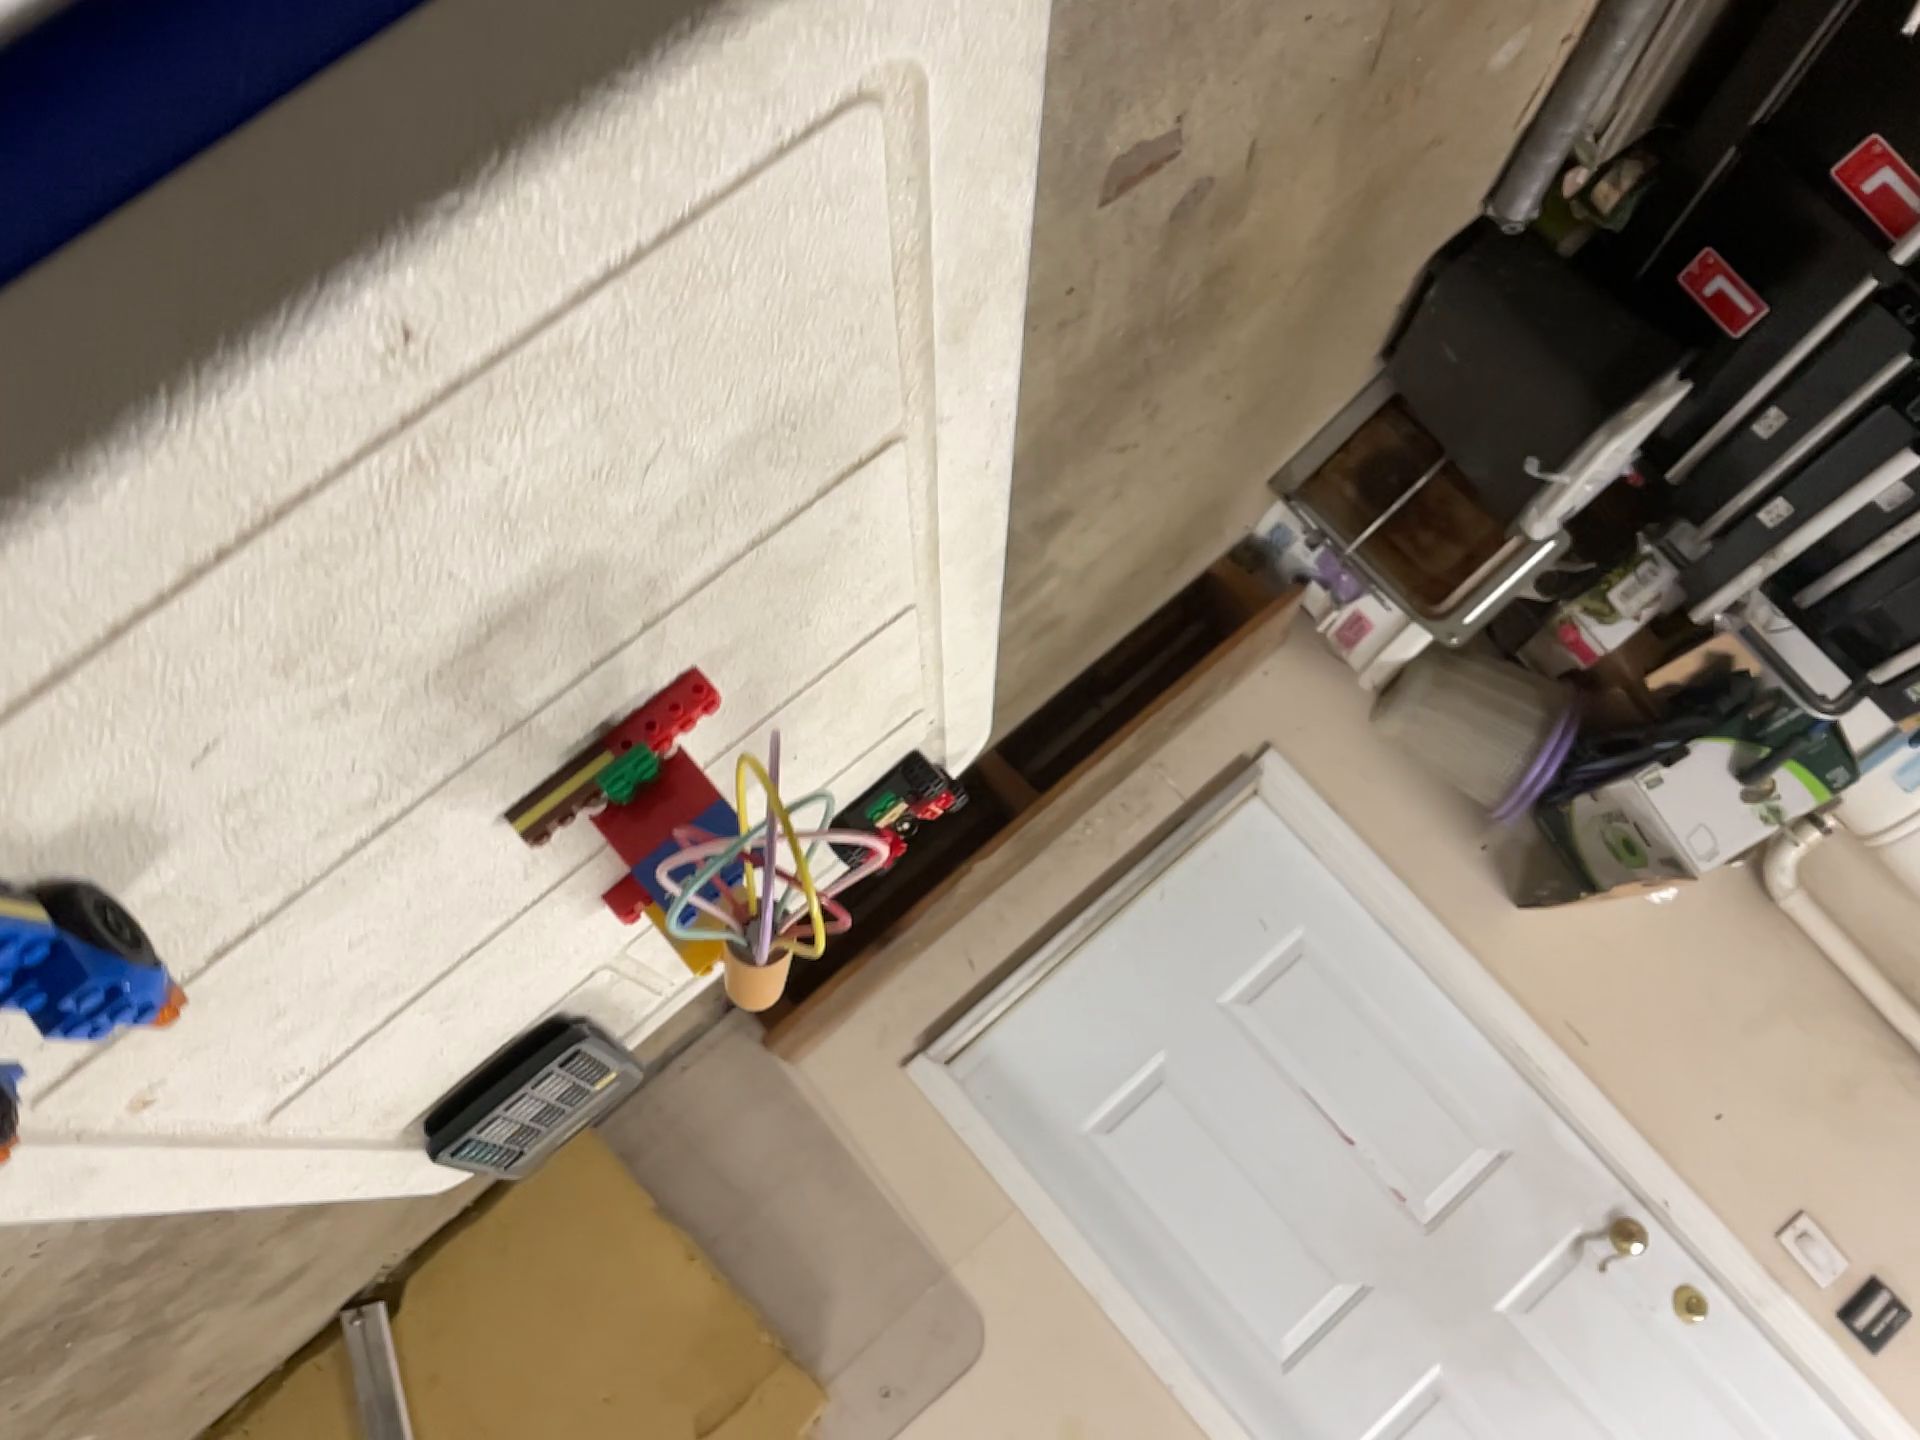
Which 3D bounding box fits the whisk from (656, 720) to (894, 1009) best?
[{"bbox_3d":[-0.055,0.058,0.443,0.051,0.047,0.245,-51,176,-19],"label":"whisk"}]
